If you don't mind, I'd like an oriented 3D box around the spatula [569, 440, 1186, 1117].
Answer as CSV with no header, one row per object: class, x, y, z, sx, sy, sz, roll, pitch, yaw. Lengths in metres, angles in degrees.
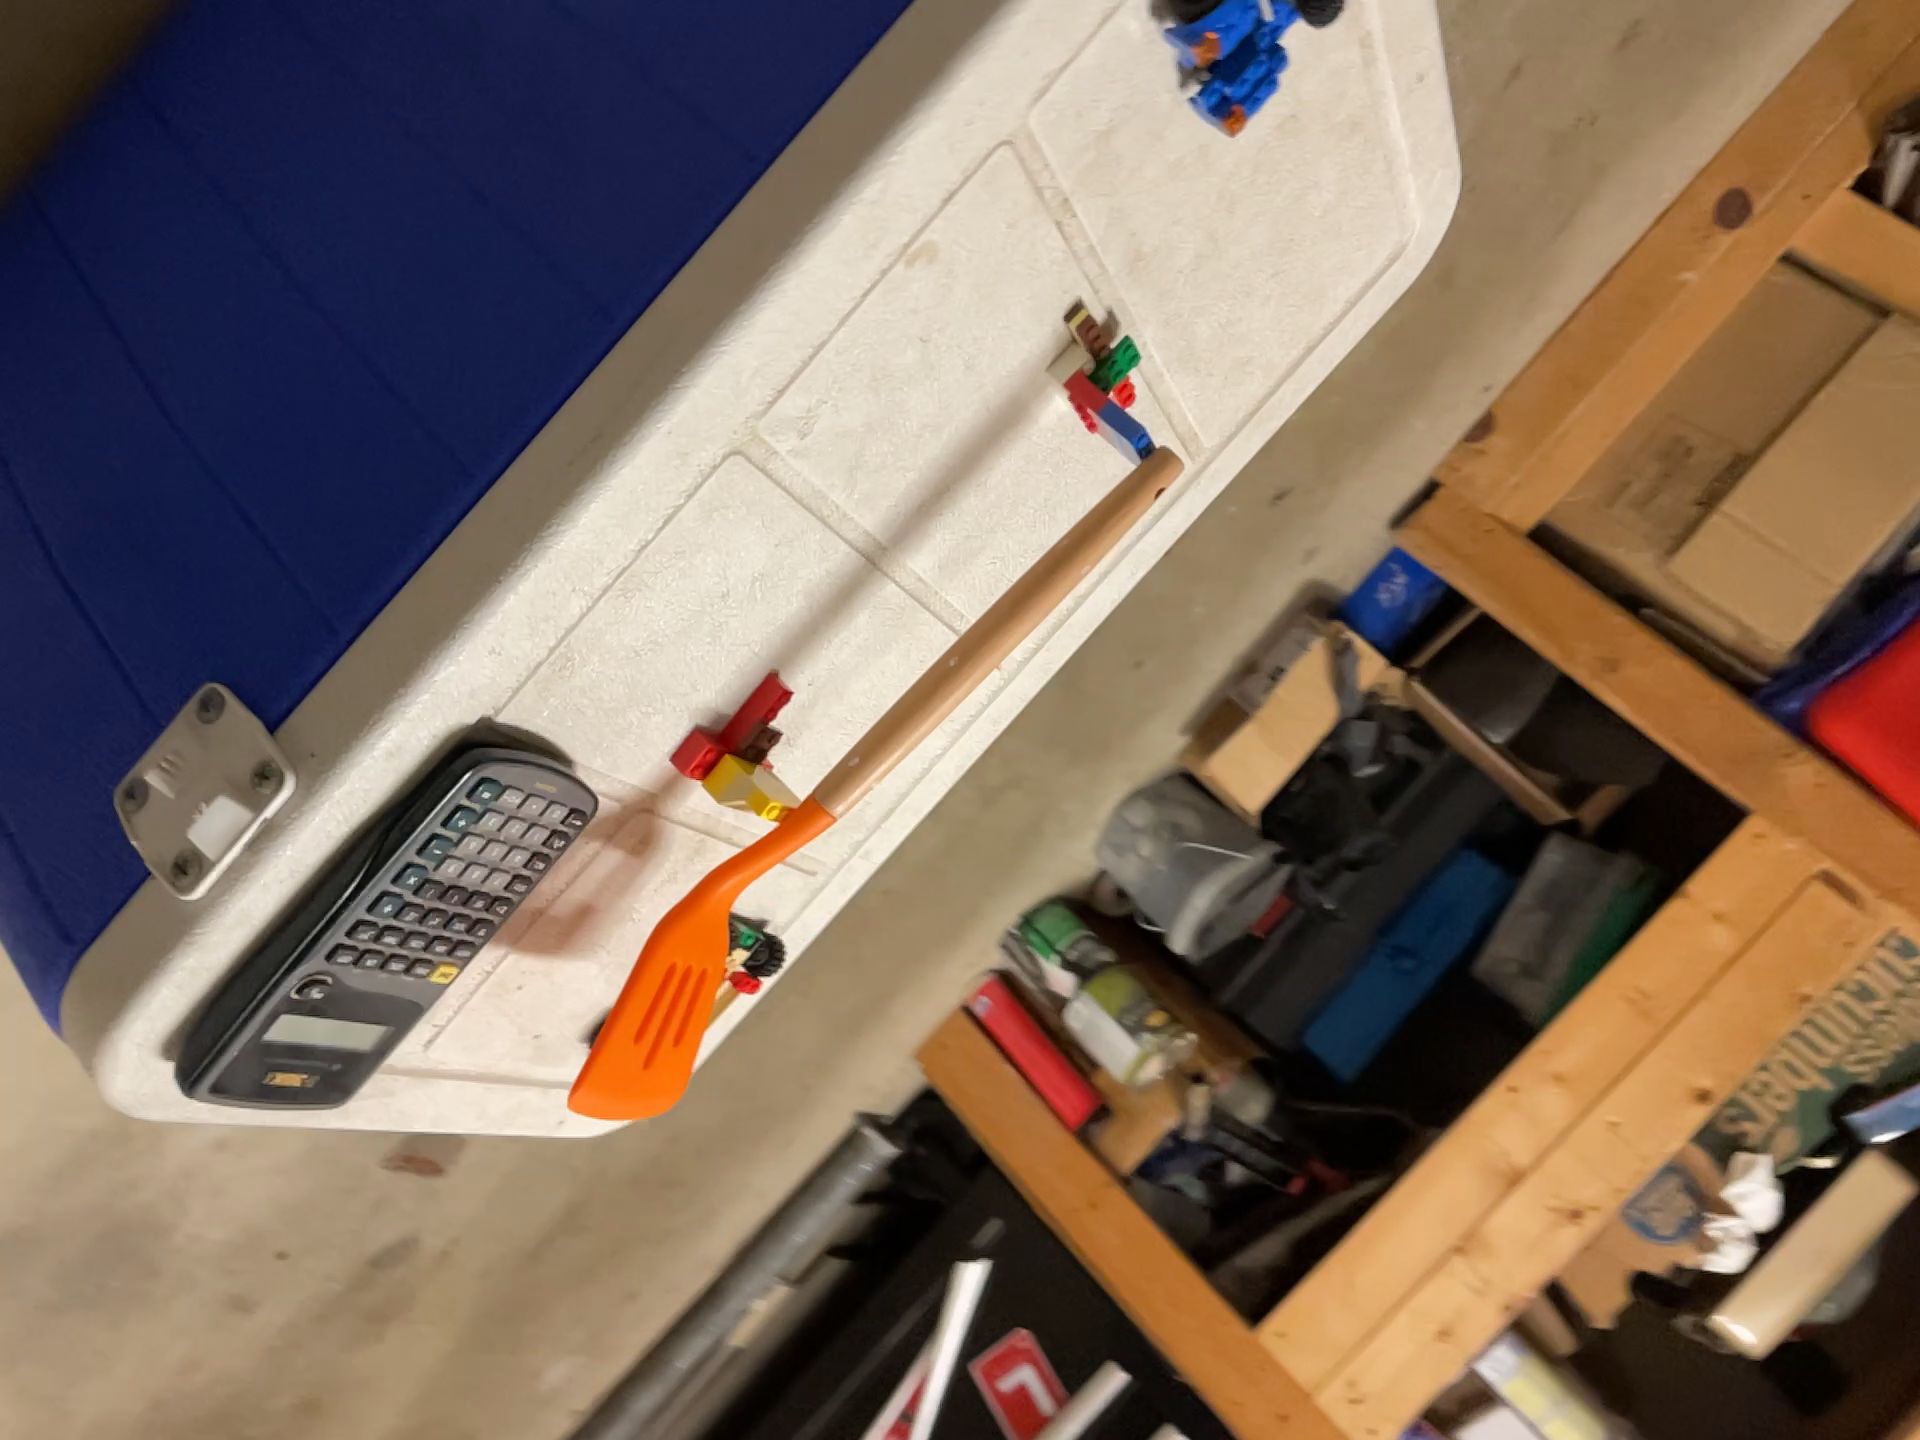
spatula,-0.028,0.020,0.597,0.322,0.041,0.081,-45,157,2
